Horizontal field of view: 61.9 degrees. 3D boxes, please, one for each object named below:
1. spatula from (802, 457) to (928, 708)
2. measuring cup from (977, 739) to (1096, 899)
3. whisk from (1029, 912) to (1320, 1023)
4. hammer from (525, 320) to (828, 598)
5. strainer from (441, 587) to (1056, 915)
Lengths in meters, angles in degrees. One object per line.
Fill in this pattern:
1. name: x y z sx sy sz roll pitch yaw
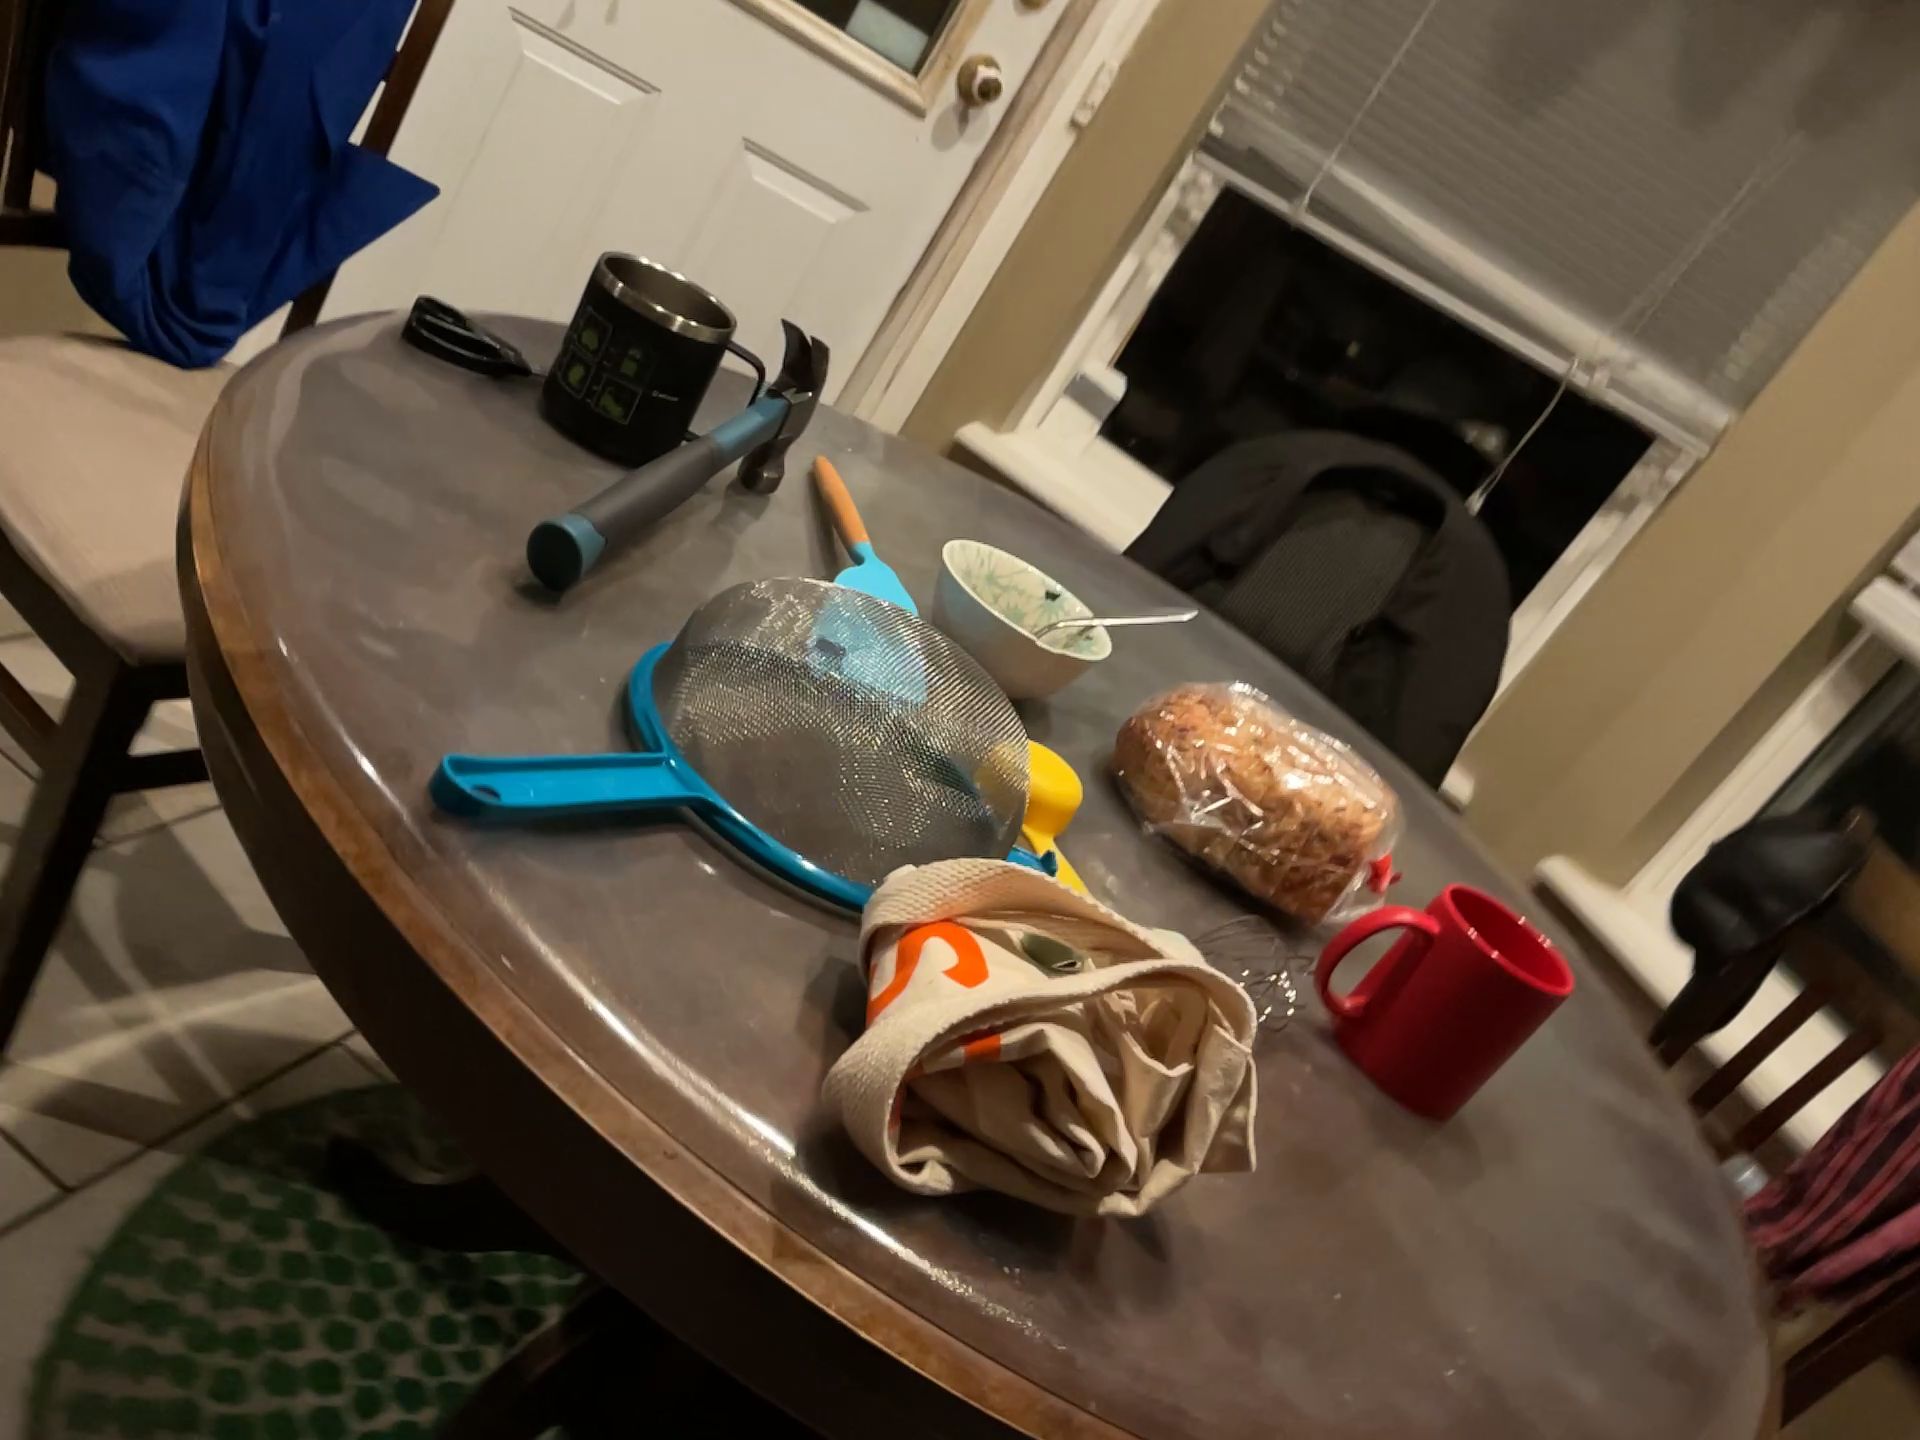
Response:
1. spatula: -0.075 -0.108 1.039 0.082 0.044 0.318 23 20 -22
2. measuring cup: 0.056 0.061 0.849 0.062 0.029 0.157 19 25 -32
3. whisk: 0.104 0.112 0.748 0.246 0.057 0.059 17 56 -53
4. hammer: -0.154 -0.144 0.921 0.033 0.128 0.331 31 31 1
5. strainer: -0.078 -0.003 0.716 0.211 0.095 0.340 43 20 24
